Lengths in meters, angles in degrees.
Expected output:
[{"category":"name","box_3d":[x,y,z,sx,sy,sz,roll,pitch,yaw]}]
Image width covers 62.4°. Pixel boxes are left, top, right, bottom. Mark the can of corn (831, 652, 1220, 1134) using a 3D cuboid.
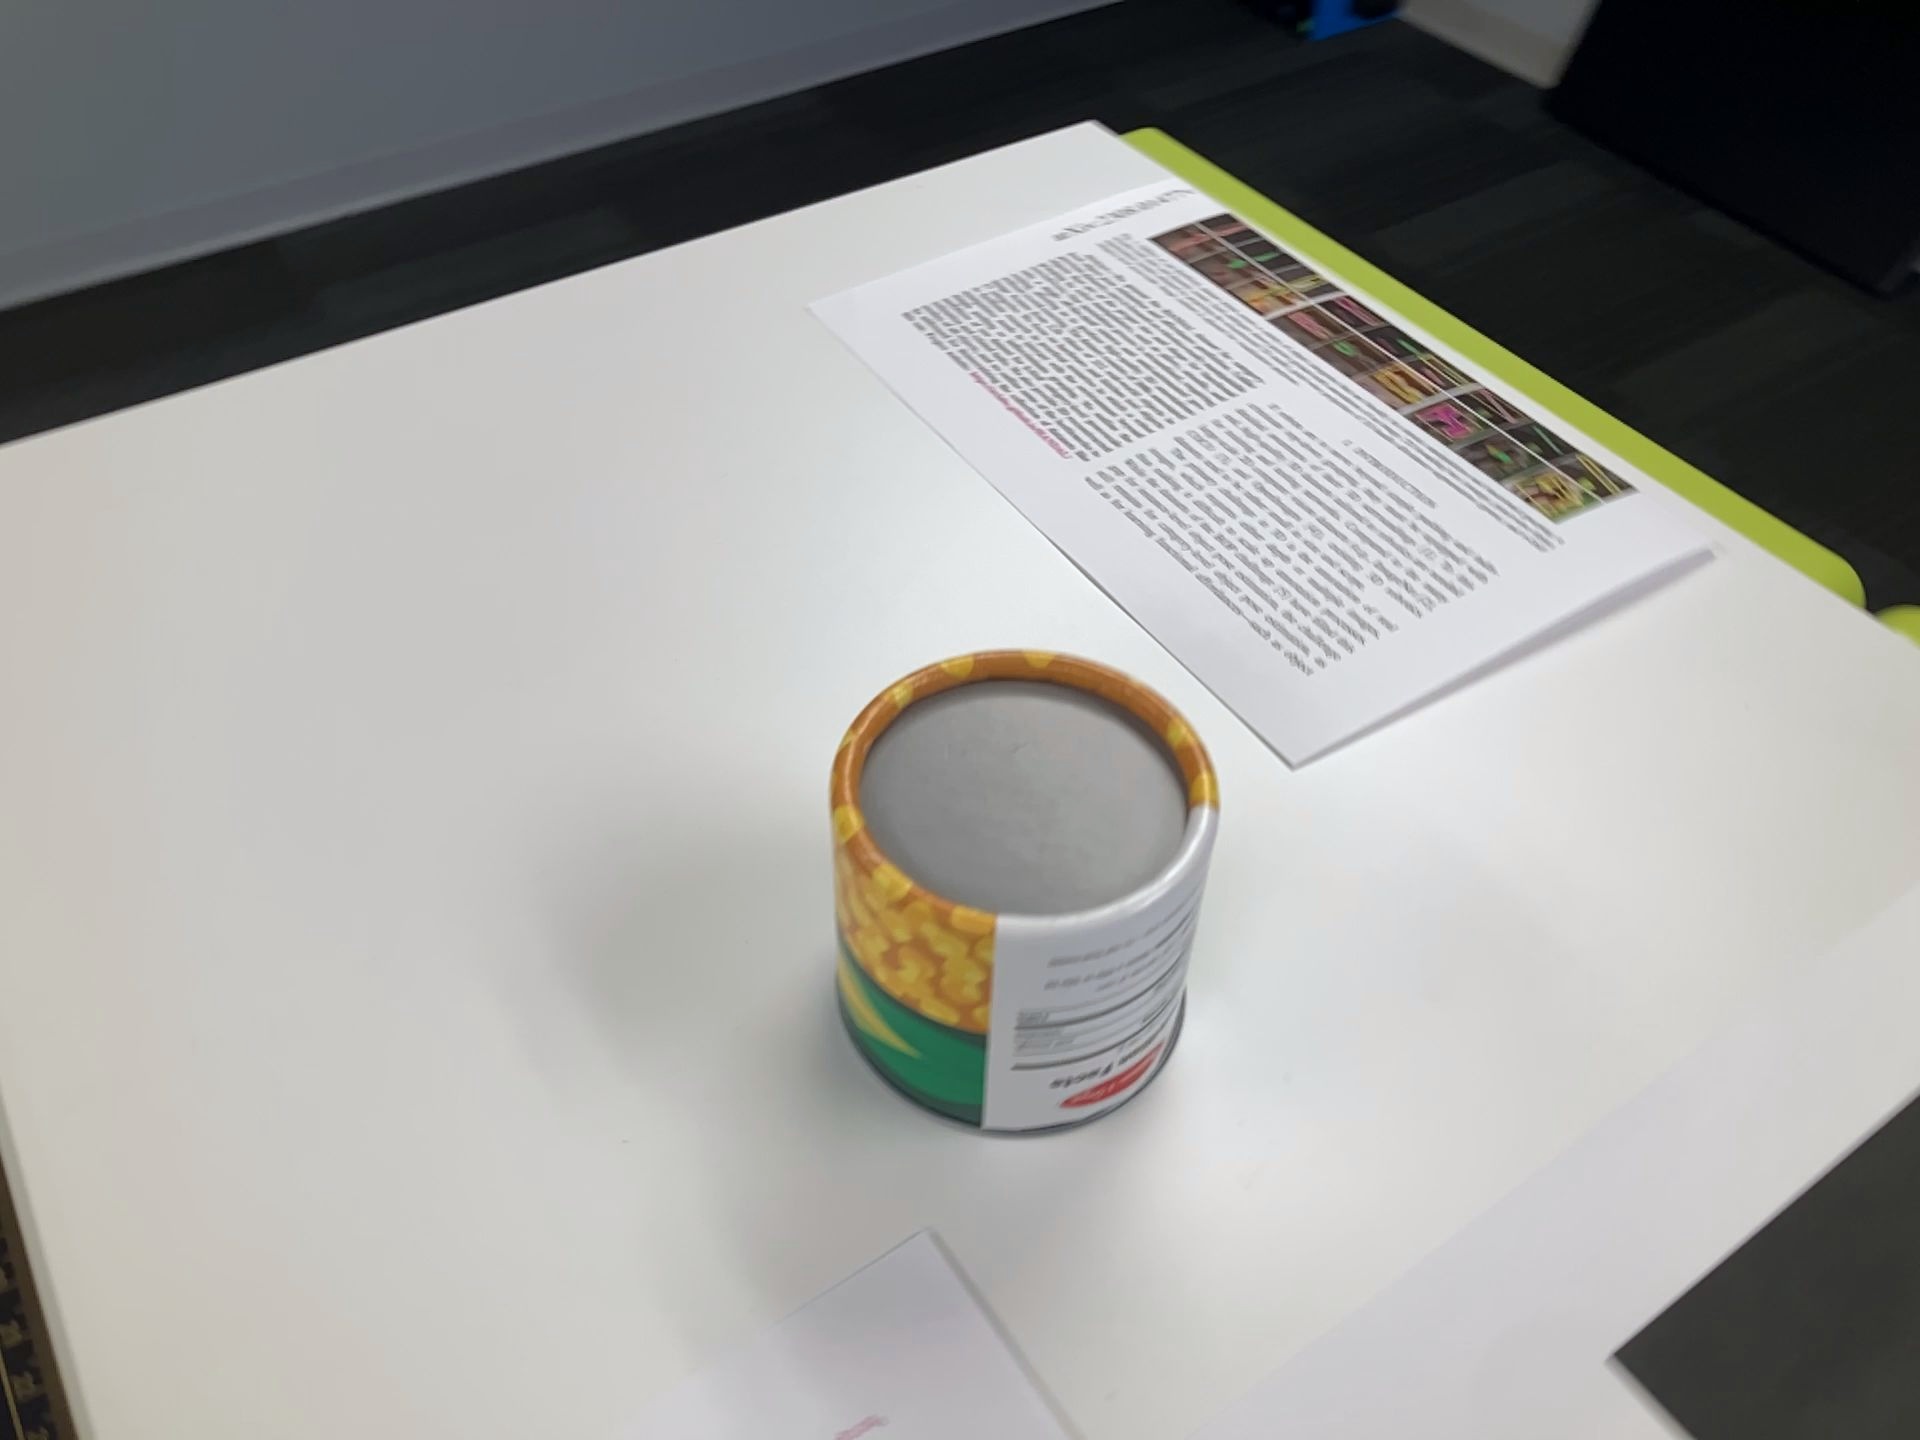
[{"category":"can of corn","box_3d":[0.009,0.028,0.286,0.071,0.058,0.071,1,45,-1]}]
